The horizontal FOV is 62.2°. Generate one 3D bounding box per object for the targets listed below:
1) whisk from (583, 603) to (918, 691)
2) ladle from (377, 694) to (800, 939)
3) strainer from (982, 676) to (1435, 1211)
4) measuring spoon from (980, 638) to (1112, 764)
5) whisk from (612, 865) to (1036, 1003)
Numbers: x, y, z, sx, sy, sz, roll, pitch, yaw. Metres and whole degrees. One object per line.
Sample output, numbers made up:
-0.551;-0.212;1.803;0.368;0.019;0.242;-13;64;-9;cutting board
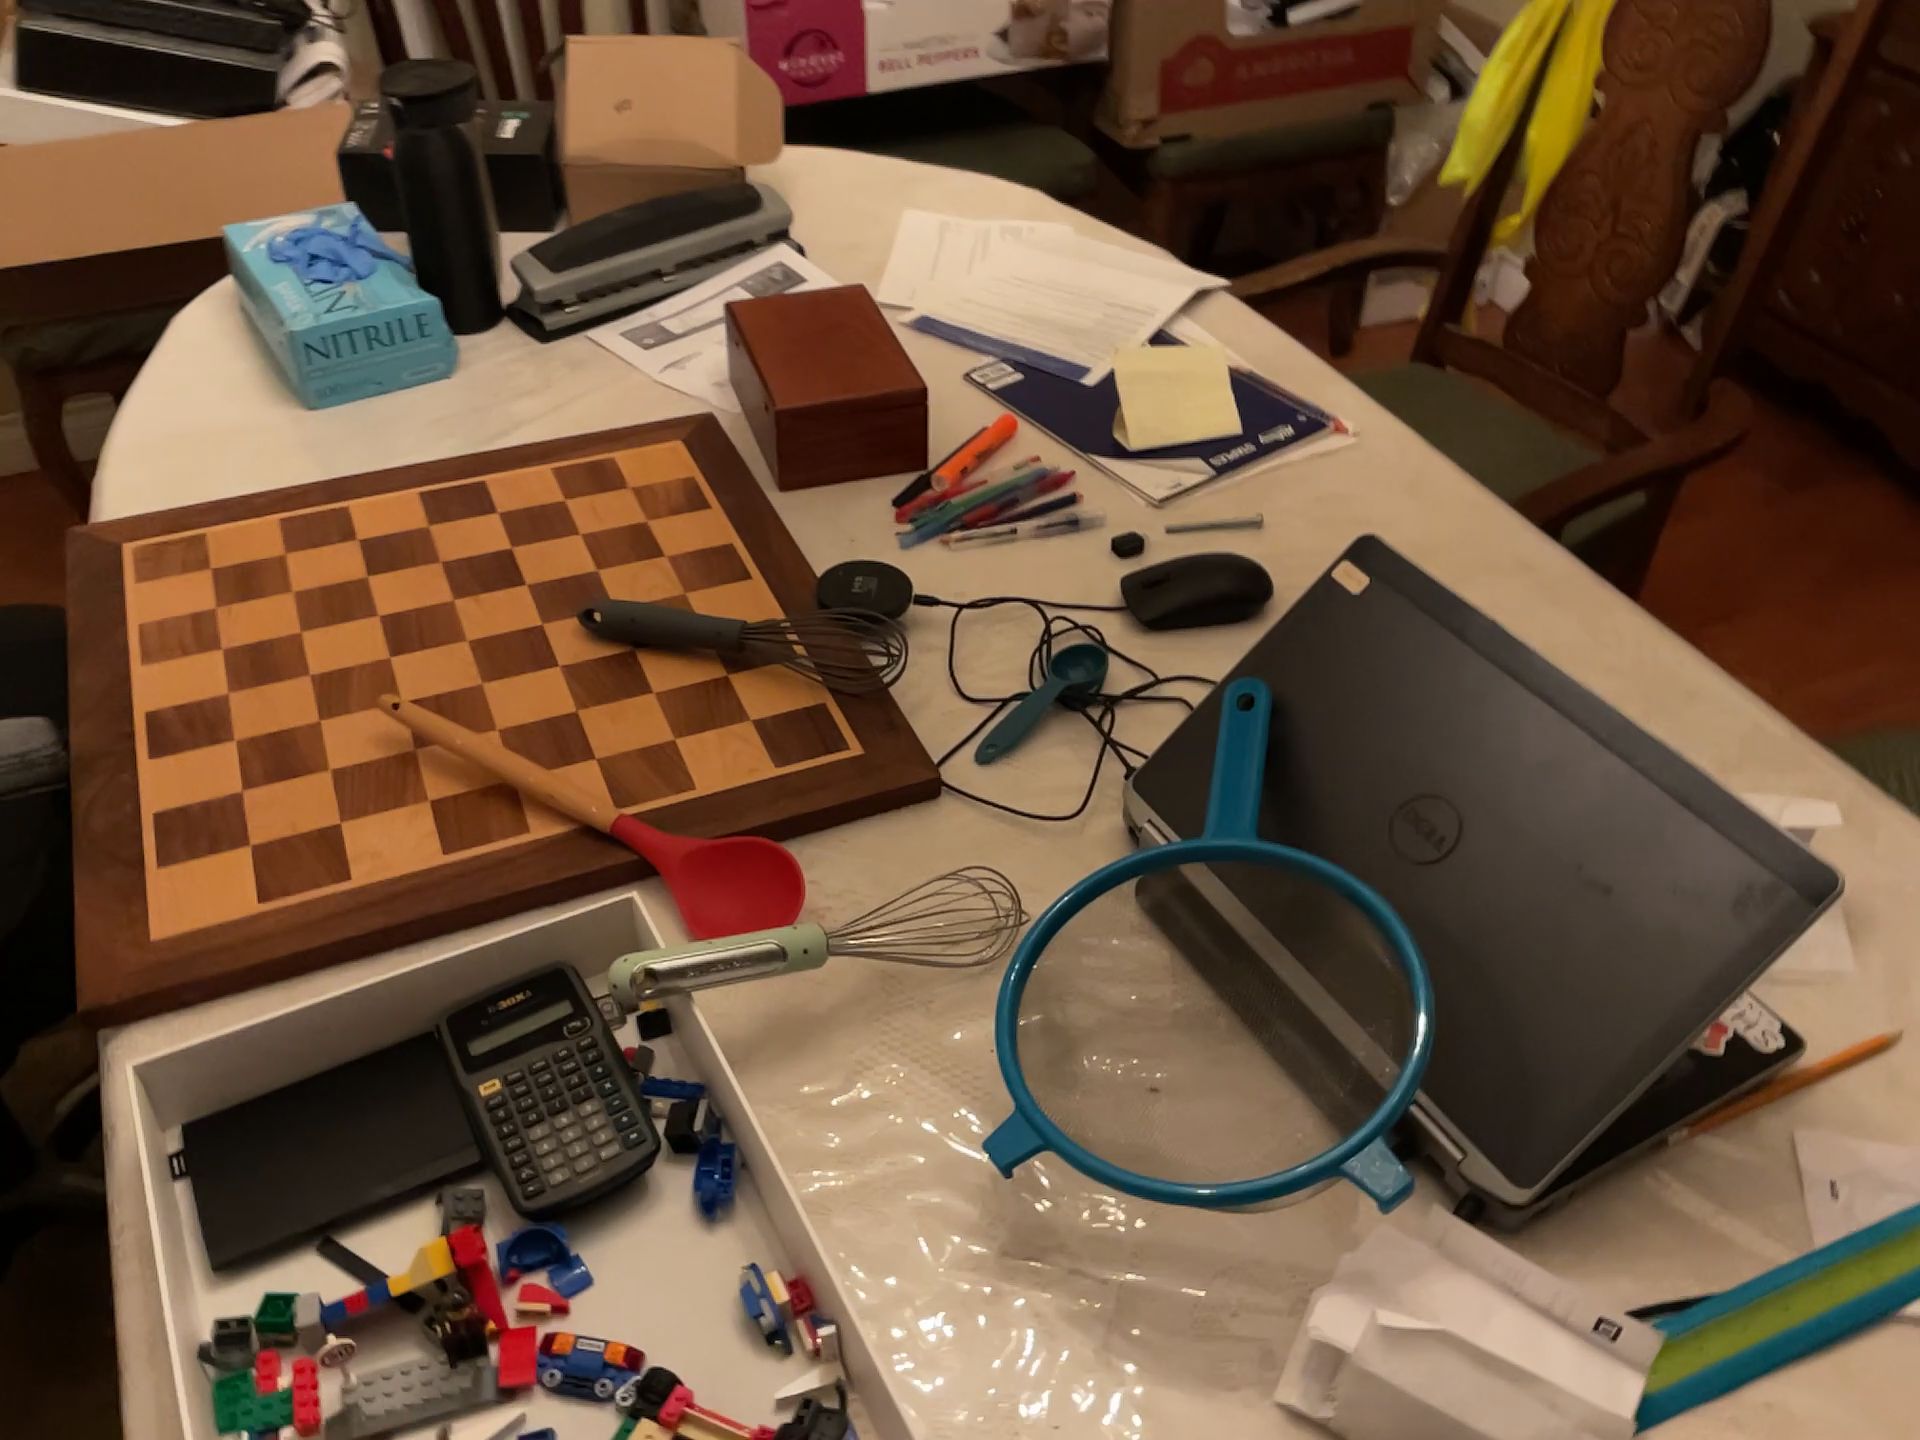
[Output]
-0.144;-0.056;1.073;0.239;0.055;0.055;7;26;14;whisk
-0.228;0.050;0.951;0.315;0.031;0.069;25;67;19;ladle
0.143;0.121;0.842;0.211;0.095;0.340;-1;43;18;strainer
0.057;-0.008;1.064;0.042;0.021;0.128;24;56;35;measuring spoon
-0.066;0.119;0.851;0.246;0.058;0.059;-6;8;-30;whisk
